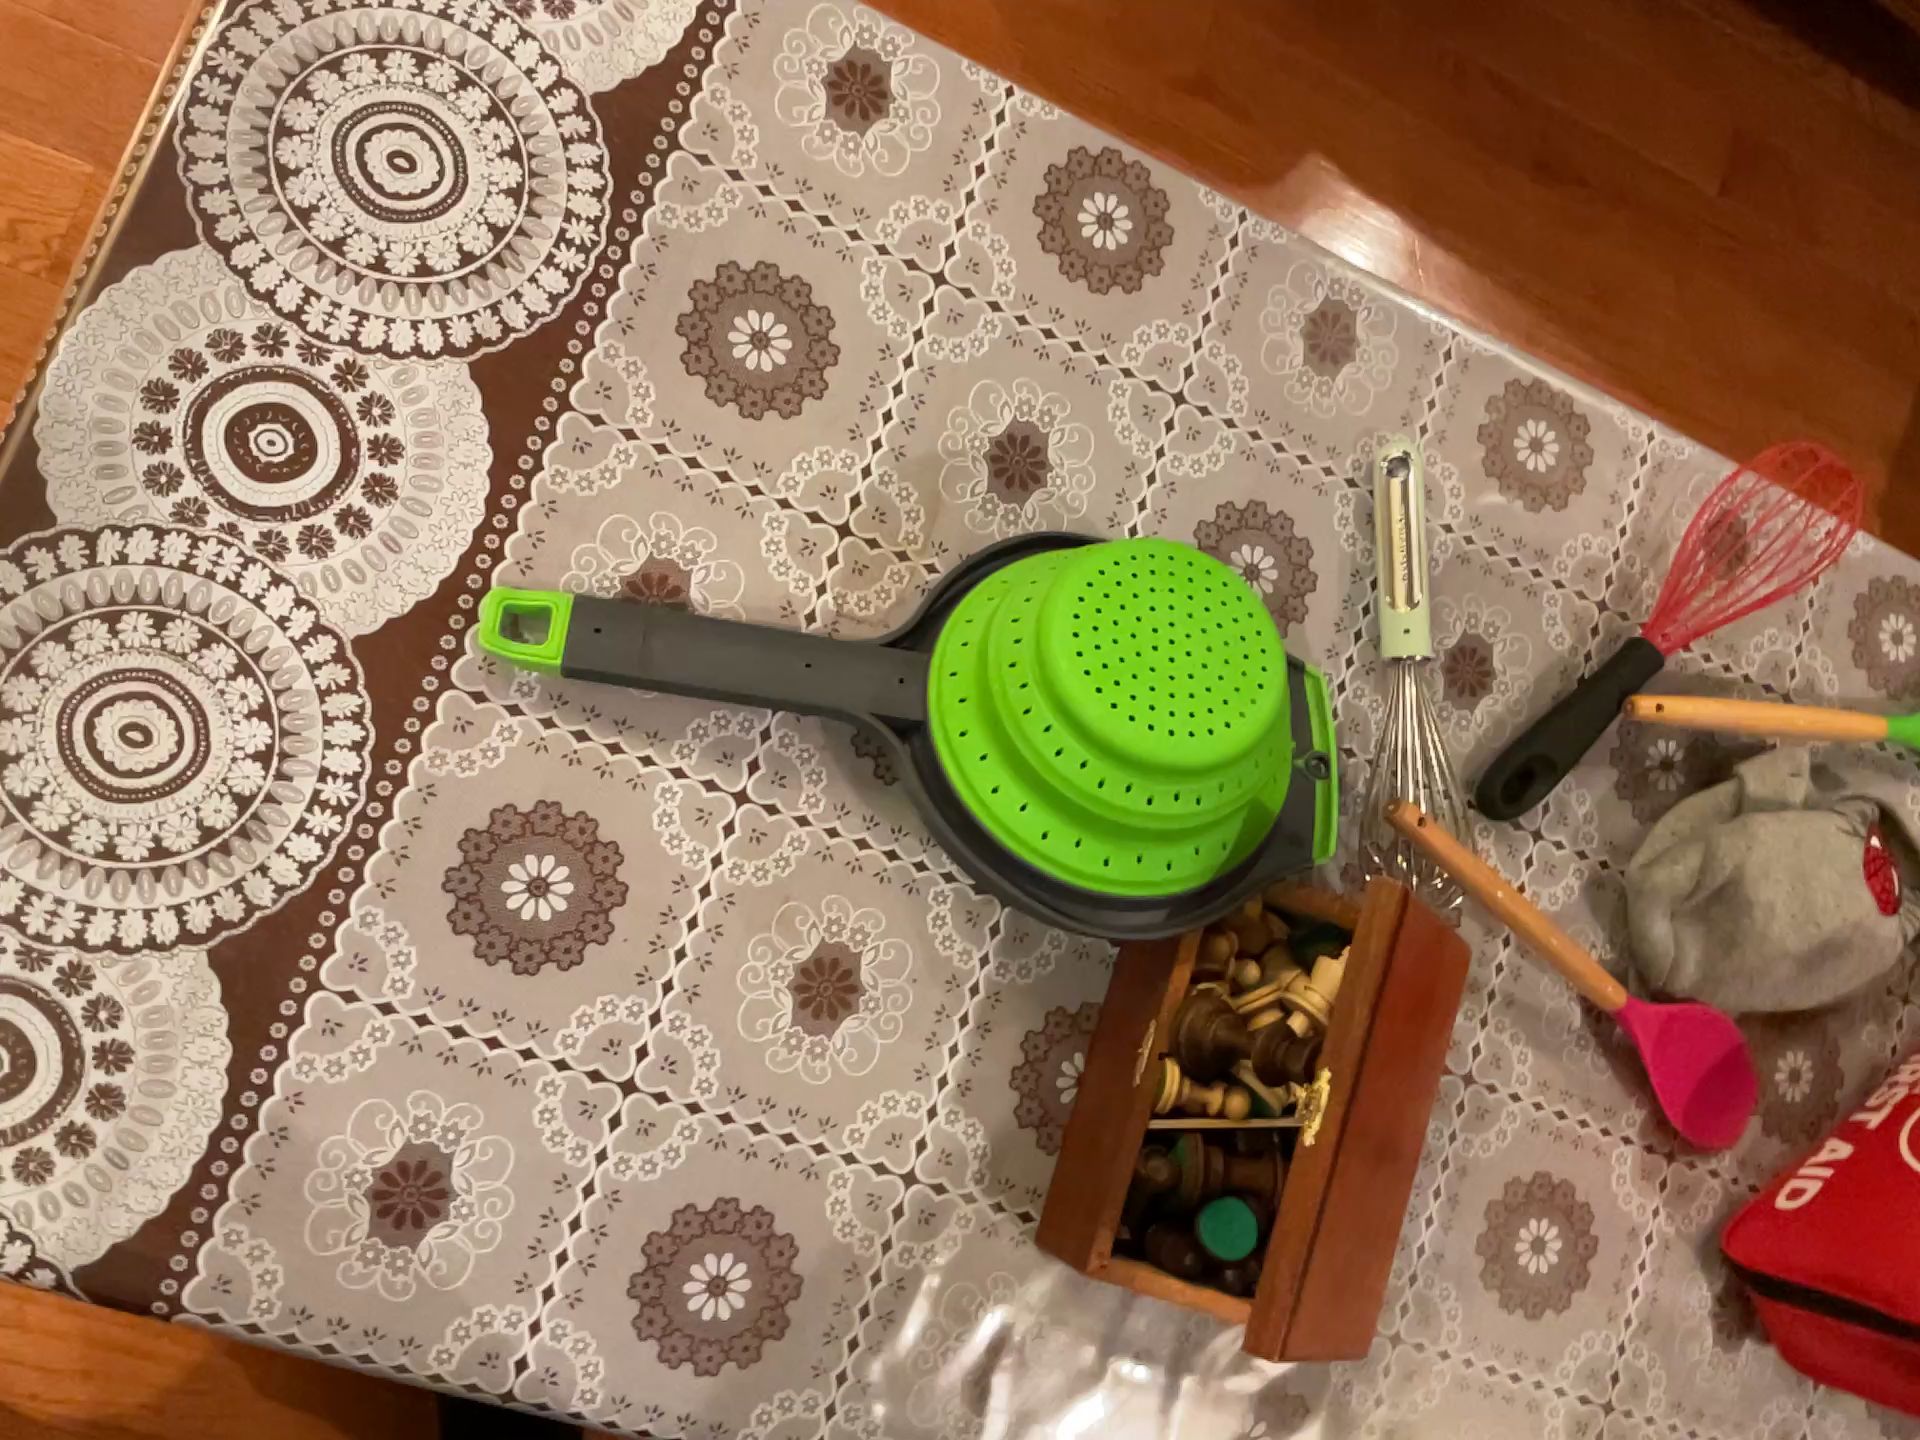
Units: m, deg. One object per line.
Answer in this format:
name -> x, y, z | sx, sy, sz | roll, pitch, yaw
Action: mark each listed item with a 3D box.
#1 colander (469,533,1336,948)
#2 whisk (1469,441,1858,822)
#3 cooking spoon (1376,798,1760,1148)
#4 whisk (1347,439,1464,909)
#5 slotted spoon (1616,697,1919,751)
colander -> -0.005, -0.025, 0.680 | 0.397, 0.094, 0.205 | 10, 63, -11
whisk -> 0.379, -0.048, 0.856 | 0.296, 0.073, 0.073 | -42, 105, -11
cooking spoon -> 0.316, 0.129, 0.809 | 0.318, 0.017, 0.069 | 37, 73, -24
whisk -> 0.223, -0.023, 0.811 | 0.057, 0.059, 0.246 | 12, 76, -60
slotted spoon -> 0.493, 0.002, 0.892 | 0.313, 0.031, 0.070 | 3, 85, -21
